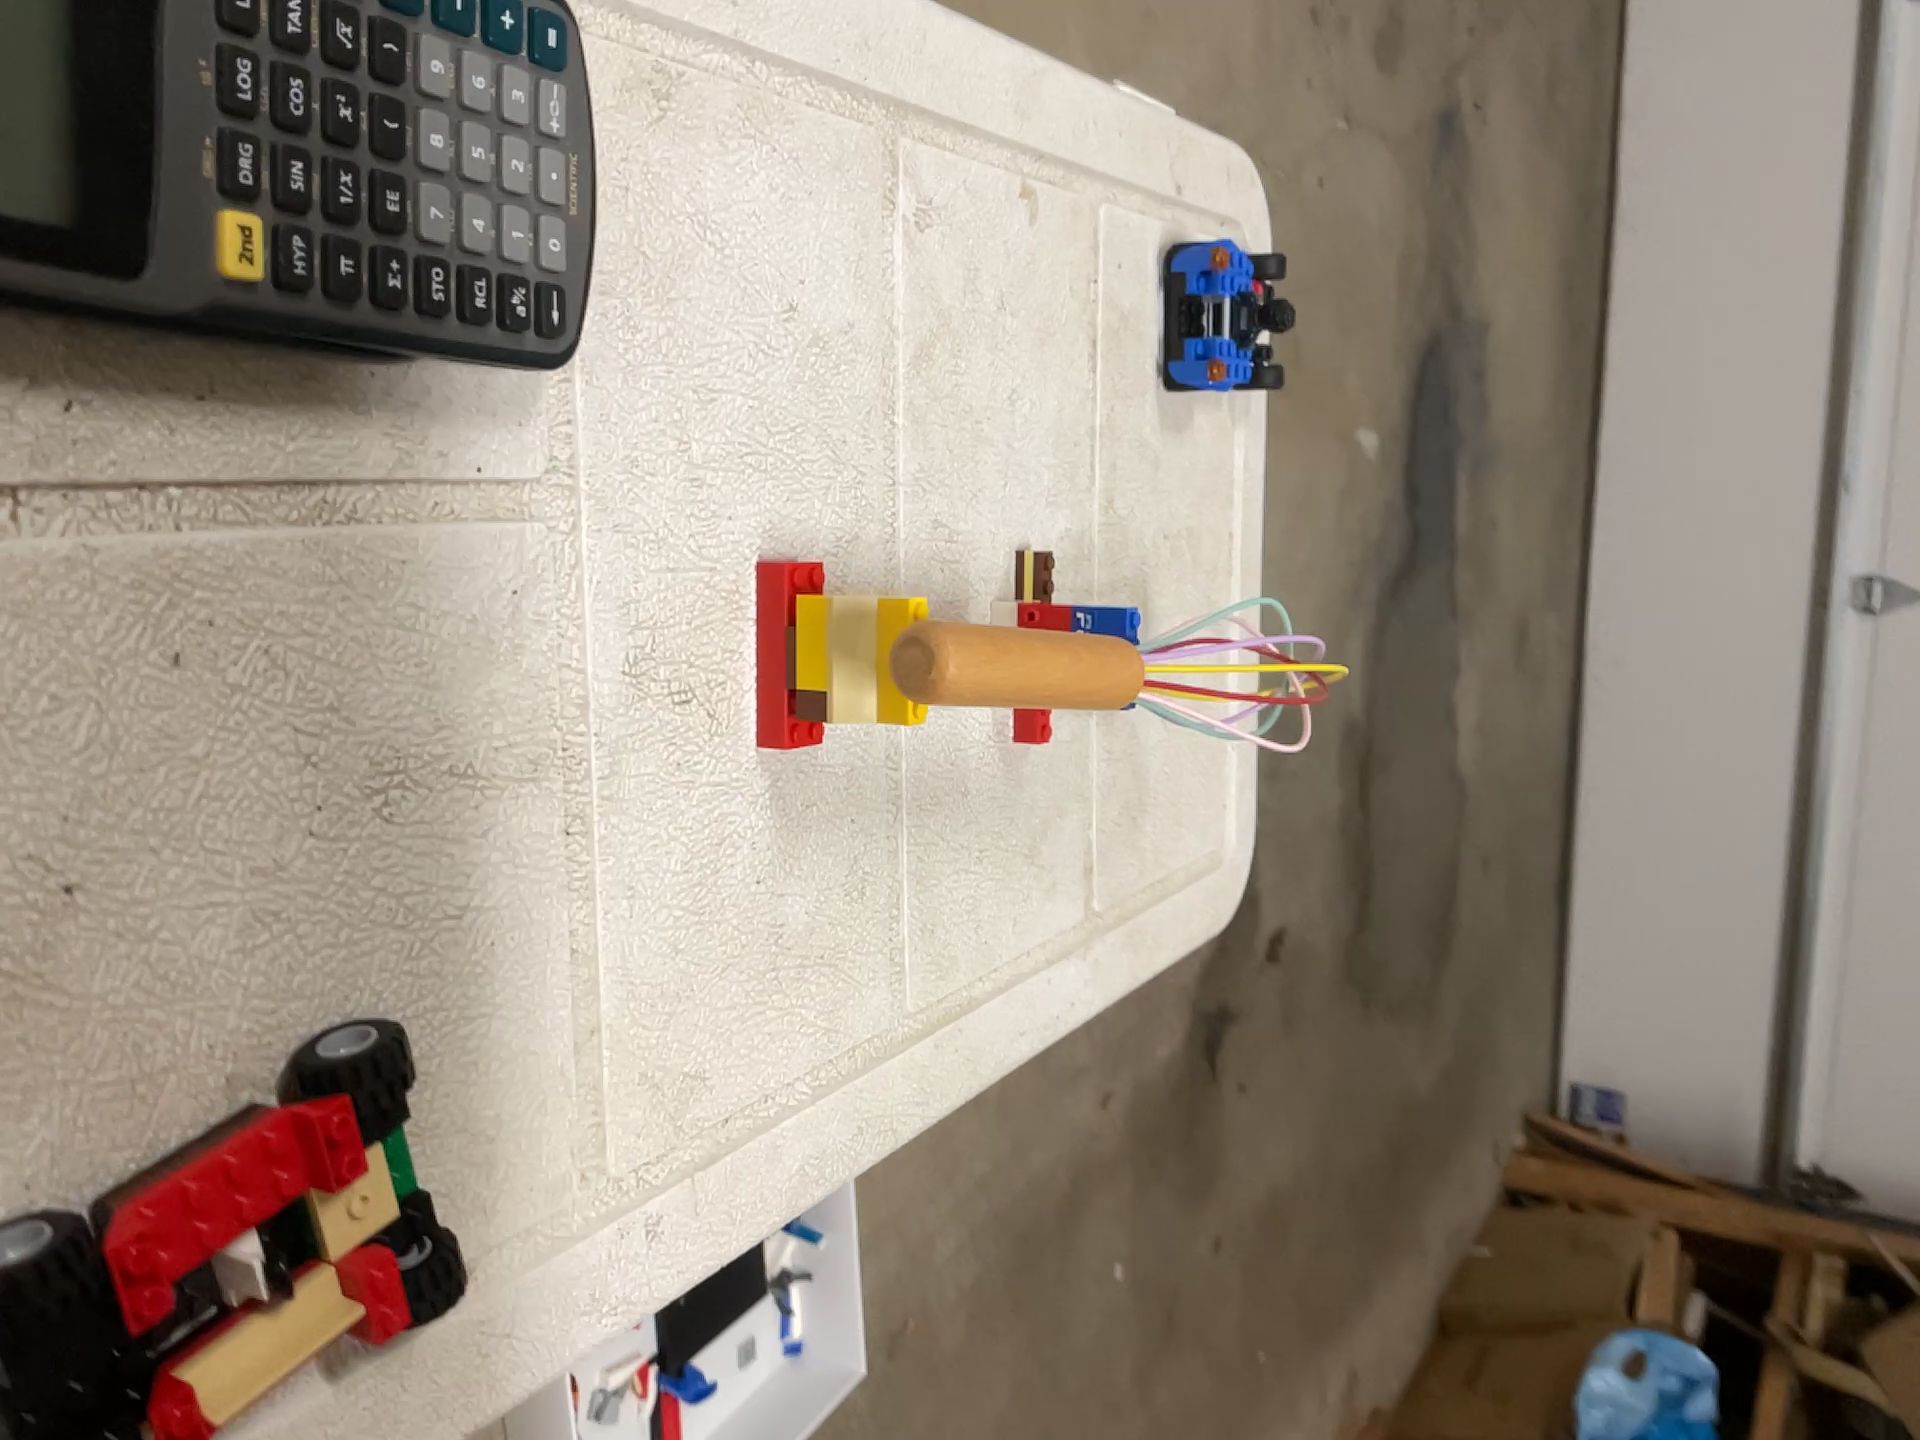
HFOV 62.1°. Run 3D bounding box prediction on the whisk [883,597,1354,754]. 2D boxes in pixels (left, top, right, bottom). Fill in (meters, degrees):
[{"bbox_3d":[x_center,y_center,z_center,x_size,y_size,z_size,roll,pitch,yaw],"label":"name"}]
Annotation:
[{"bbox_3d":[0.058,-0.015,0.473,0.245,0.047,0.051,1,106,-56],"label":"whisk"}]
